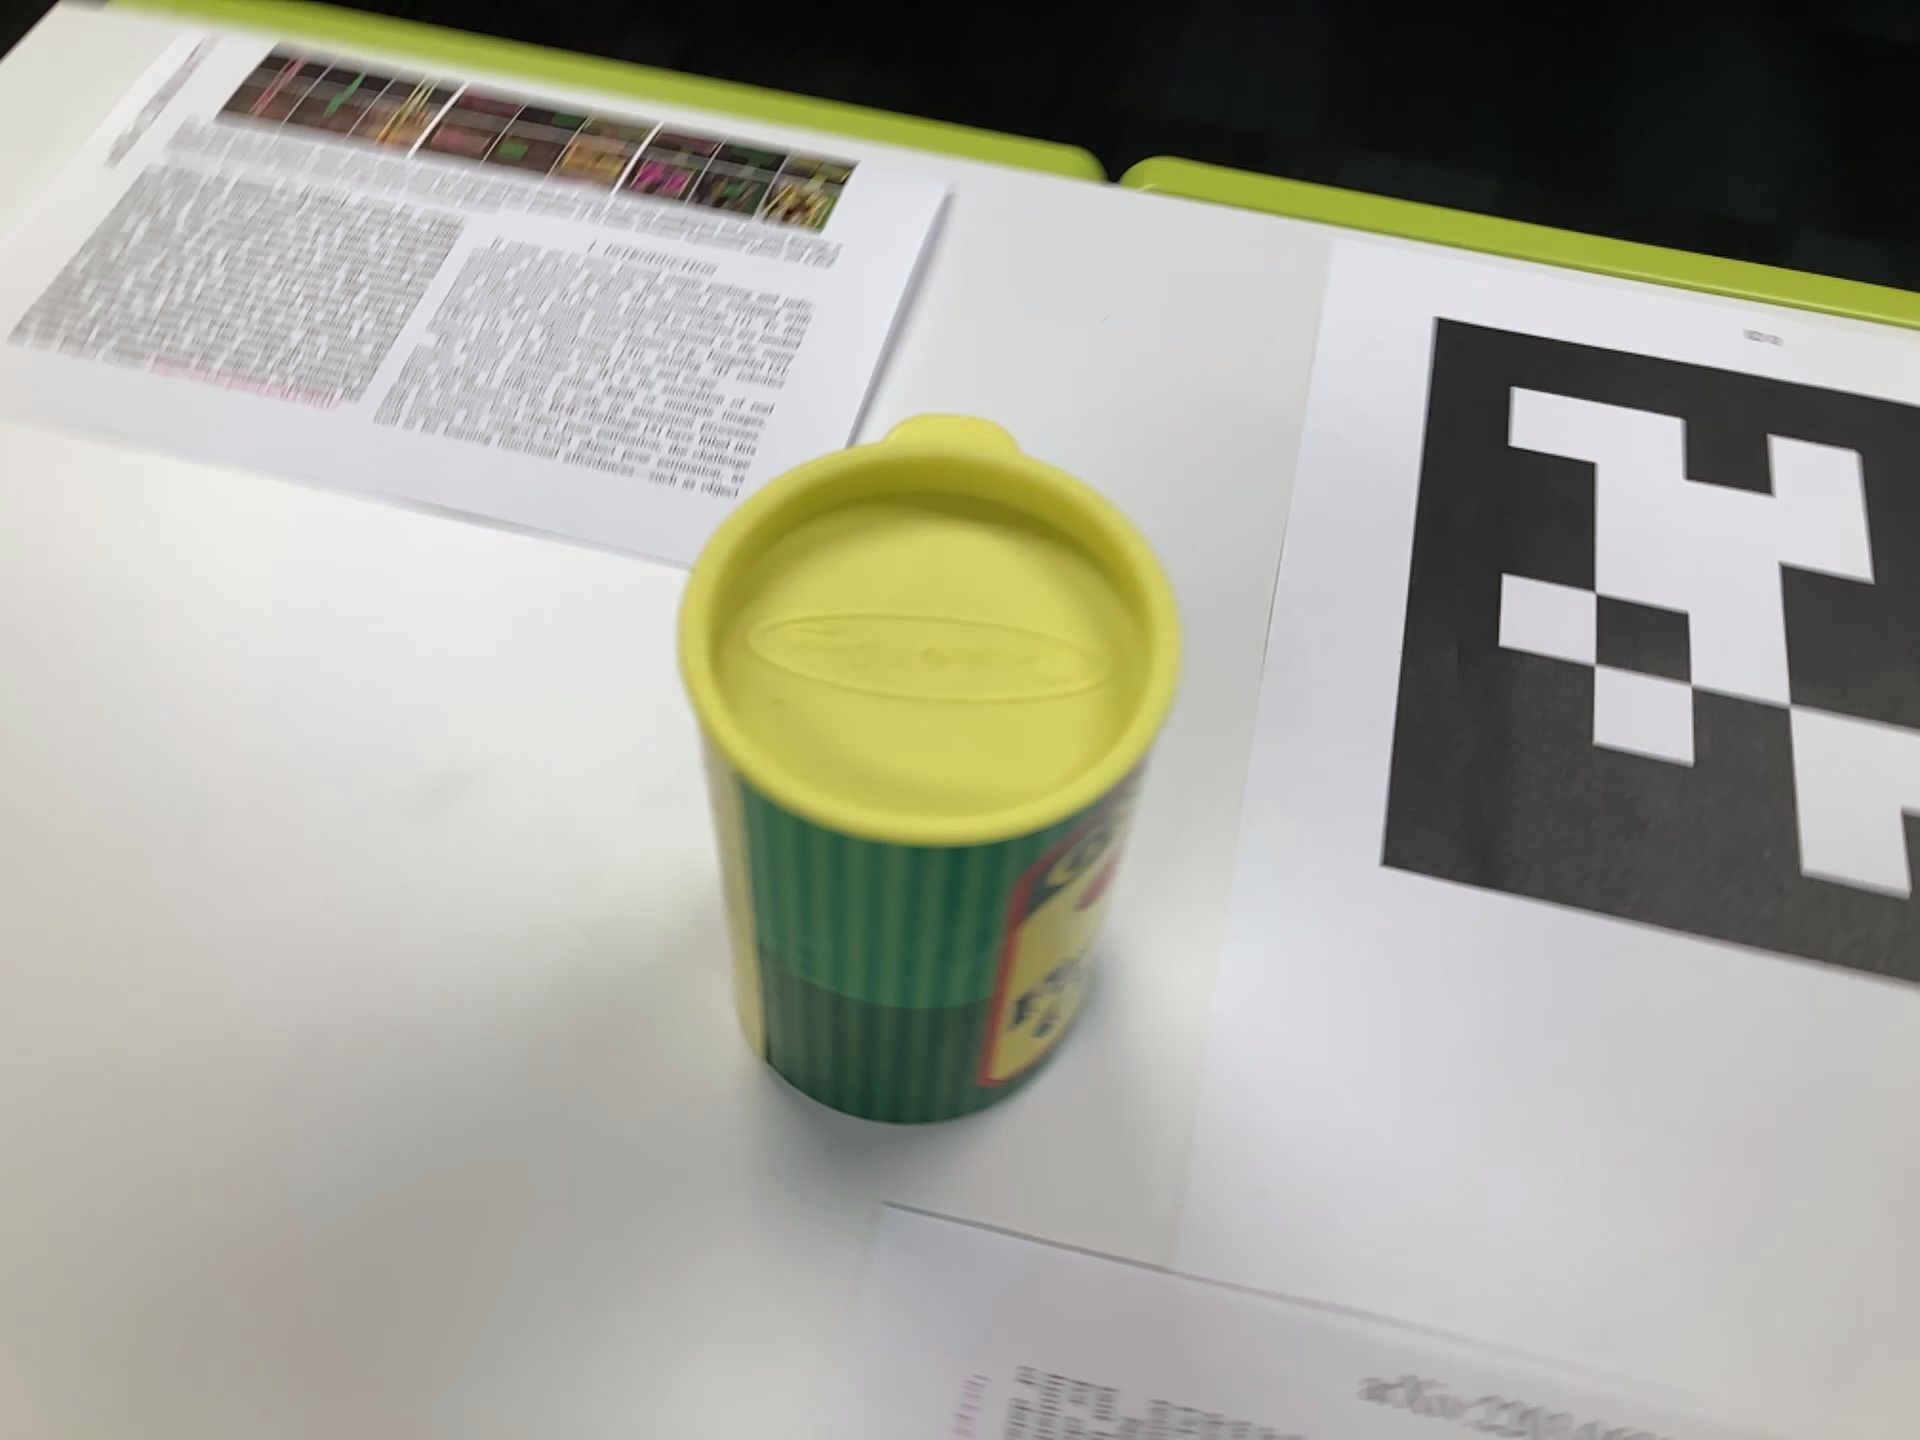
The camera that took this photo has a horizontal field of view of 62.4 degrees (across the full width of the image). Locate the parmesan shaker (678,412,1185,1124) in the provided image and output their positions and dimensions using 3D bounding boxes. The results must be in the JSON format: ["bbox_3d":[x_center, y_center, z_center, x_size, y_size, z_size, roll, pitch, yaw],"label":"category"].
[{"bbox_3d":[-0.005,0.013,0.251,0.071,0.103,0.071,1,56,-2],"label":"parmesan shaker"}]
